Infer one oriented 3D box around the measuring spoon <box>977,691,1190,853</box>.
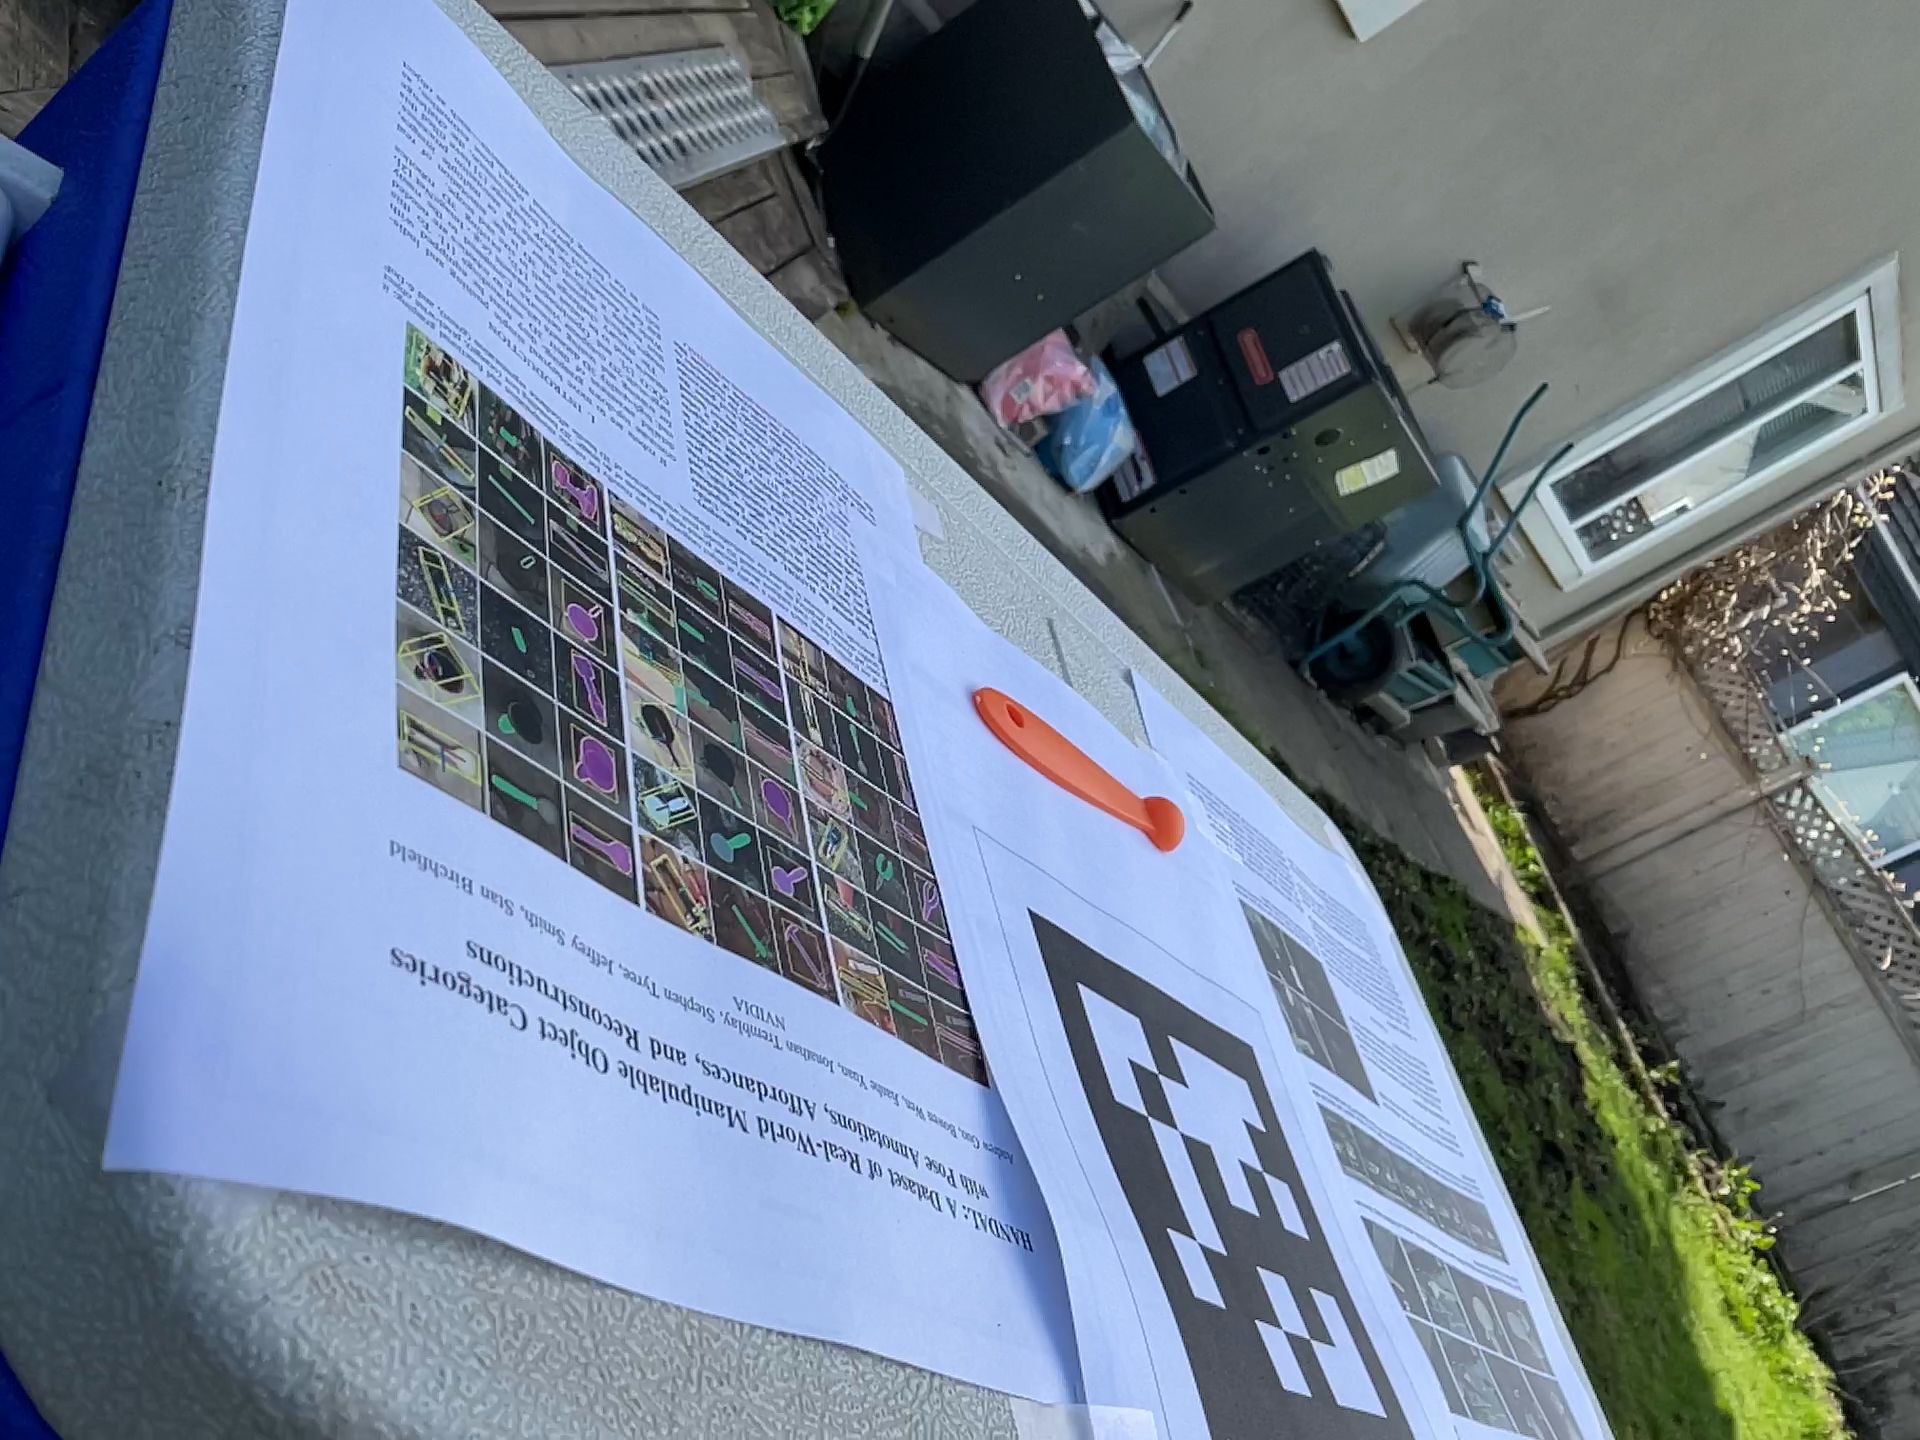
[{"bbox_3d":[0.040,0.014,0.479,0.116,0.011,0.021,33,27,-48],"label":"measuring spoon"}]
